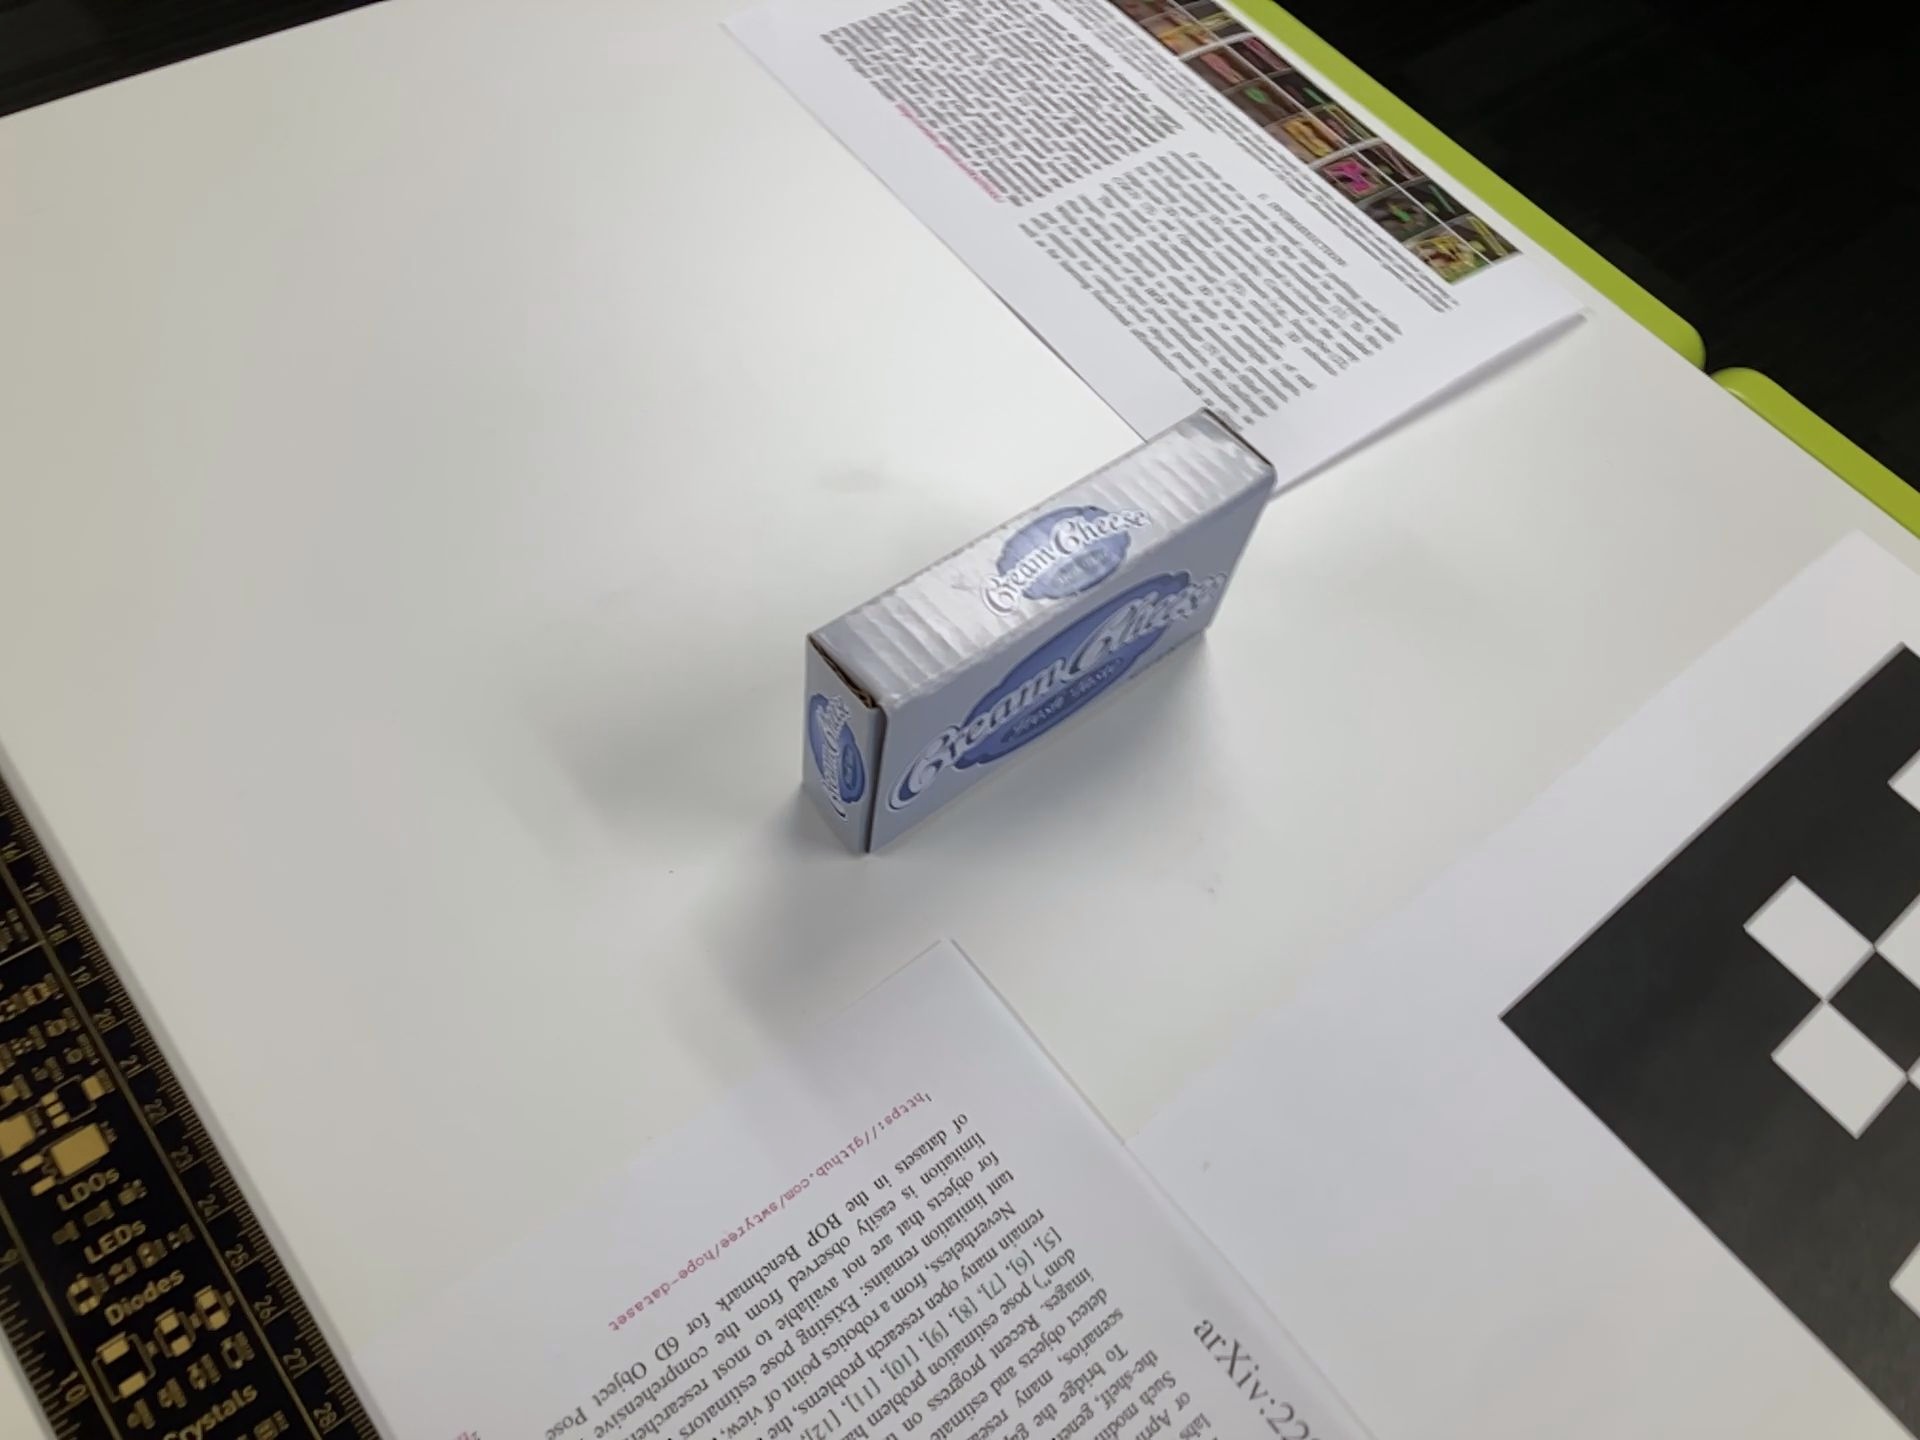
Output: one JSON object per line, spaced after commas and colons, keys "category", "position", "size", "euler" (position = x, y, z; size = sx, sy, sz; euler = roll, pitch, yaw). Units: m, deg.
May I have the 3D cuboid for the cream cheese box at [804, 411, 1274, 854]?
{"category": "cream cheese box", "position": [0.016, -0.018, 0.323], "size": [0.104, 0.053, 0.024], "euler": [-32, 65, -26]}
